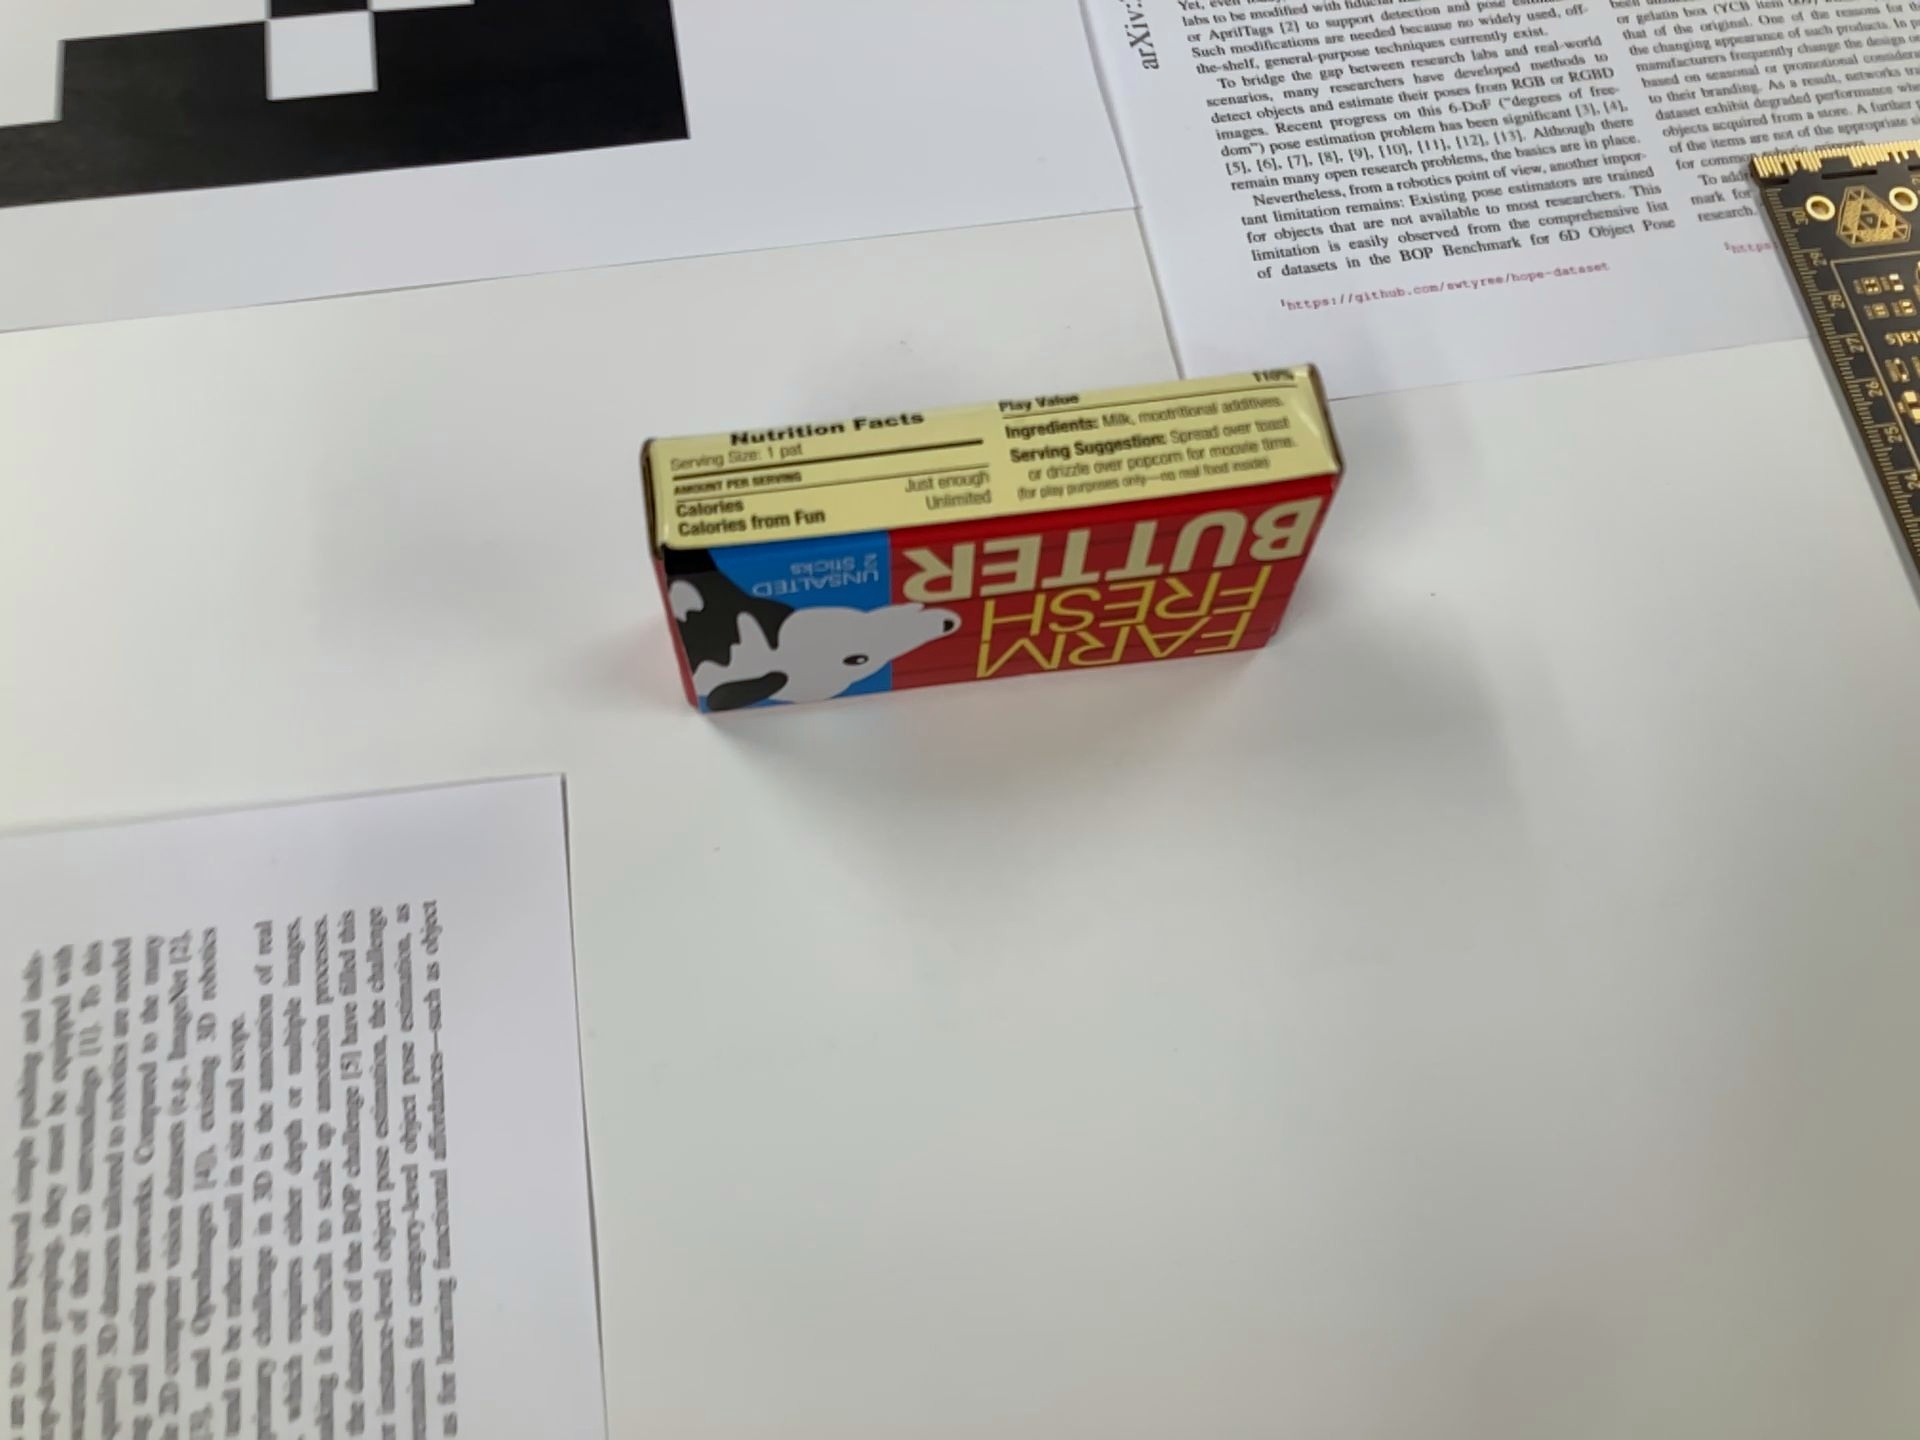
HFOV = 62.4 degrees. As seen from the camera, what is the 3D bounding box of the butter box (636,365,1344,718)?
[{"bbox_3d":[0.005,-0.027,0.252,0.103,0.053,0.024,-7,66,-6],"label":"butter box"}]
